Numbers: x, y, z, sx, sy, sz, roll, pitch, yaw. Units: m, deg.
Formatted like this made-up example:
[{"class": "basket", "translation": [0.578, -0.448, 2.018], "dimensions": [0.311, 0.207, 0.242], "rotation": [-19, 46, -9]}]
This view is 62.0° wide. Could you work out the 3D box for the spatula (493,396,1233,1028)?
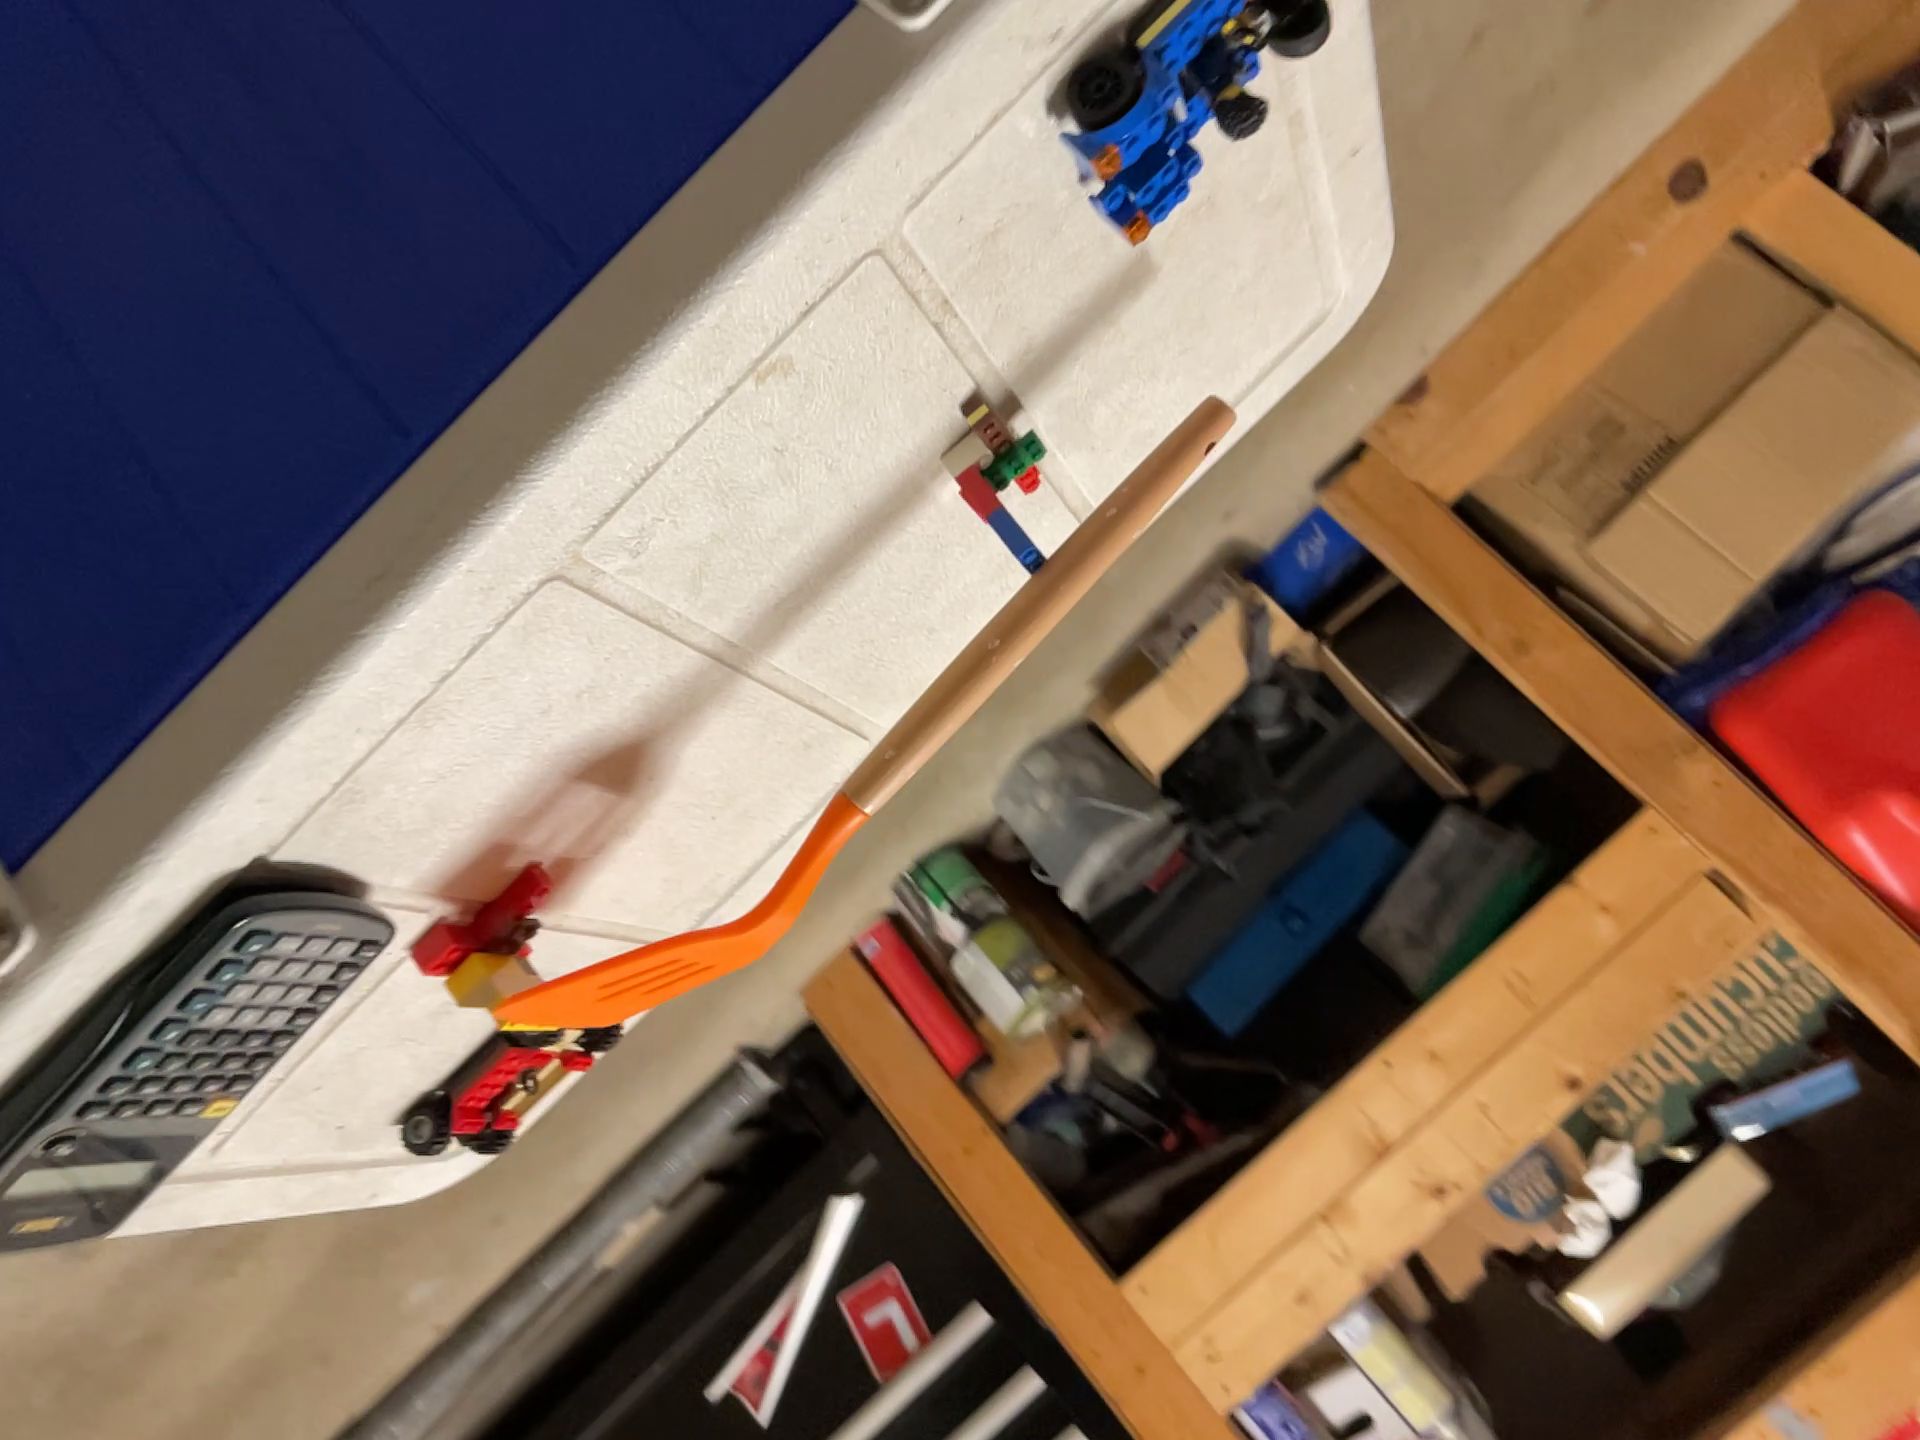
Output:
[{"class": "spatula", "translation": [-0.027, 0.004, 0.557], "dimensions": [0.322, 0.041, 0.081], "rotation": [-47, 158, 2]}]
